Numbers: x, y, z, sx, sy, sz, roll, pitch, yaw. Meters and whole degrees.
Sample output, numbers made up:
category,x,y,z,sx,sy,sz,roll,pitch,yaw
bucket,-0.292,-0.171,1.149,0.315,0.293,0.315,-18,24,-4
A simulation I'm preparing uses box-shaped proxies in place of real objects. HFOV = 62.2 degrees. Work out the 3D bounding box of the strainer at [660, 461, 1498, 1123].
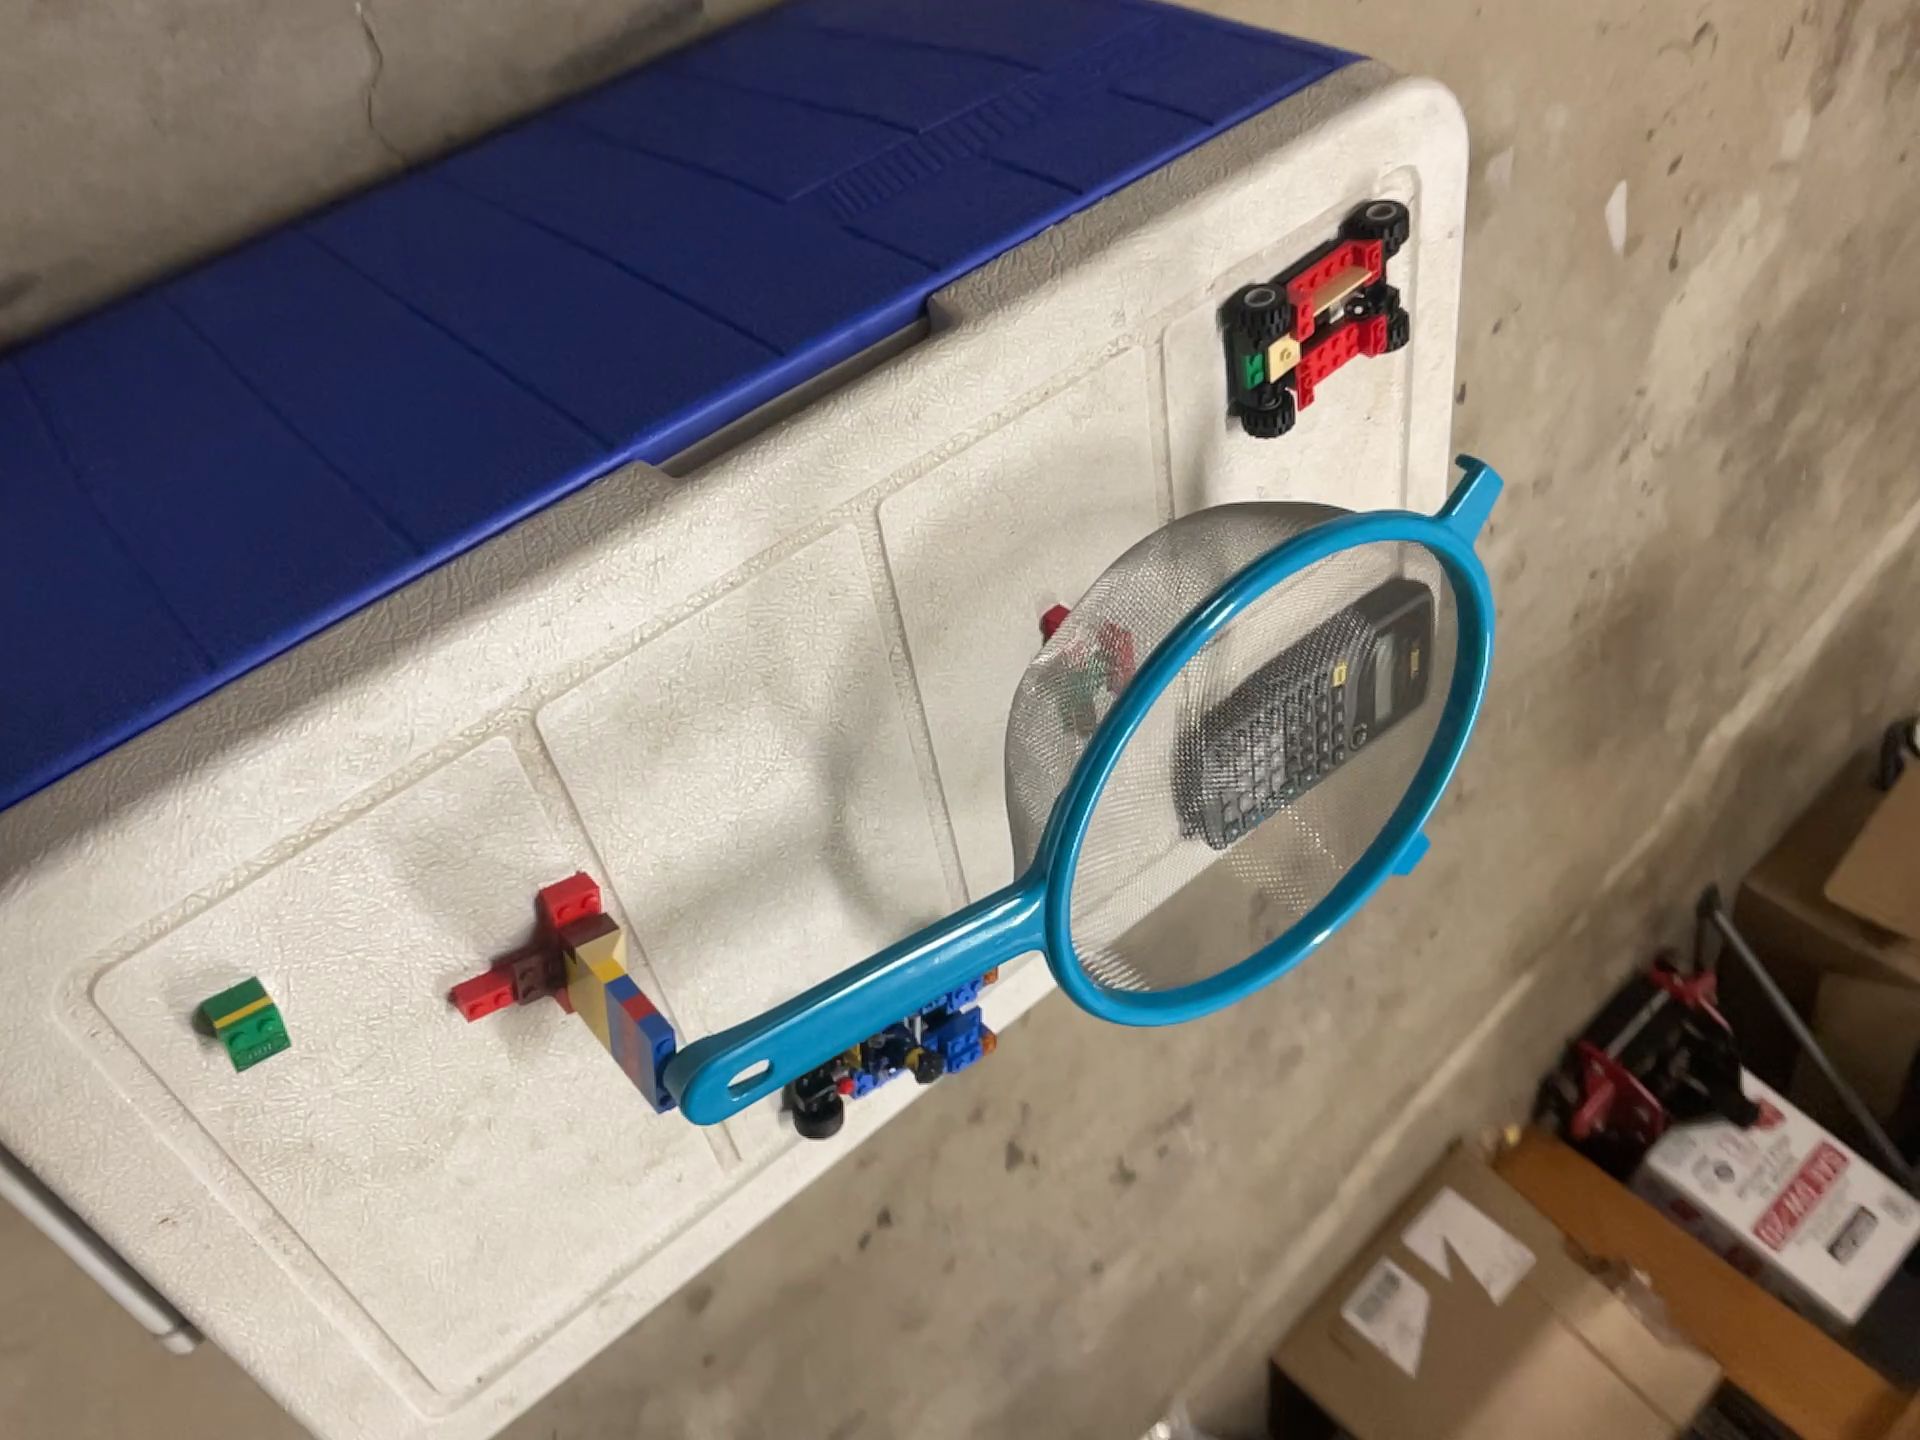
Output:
category,x,y,z,sx,sy,sz,roll,pitch,yaw
strainer,0.036,0.029,0.564,0.340,0.095,0.210,-25,135,-24
